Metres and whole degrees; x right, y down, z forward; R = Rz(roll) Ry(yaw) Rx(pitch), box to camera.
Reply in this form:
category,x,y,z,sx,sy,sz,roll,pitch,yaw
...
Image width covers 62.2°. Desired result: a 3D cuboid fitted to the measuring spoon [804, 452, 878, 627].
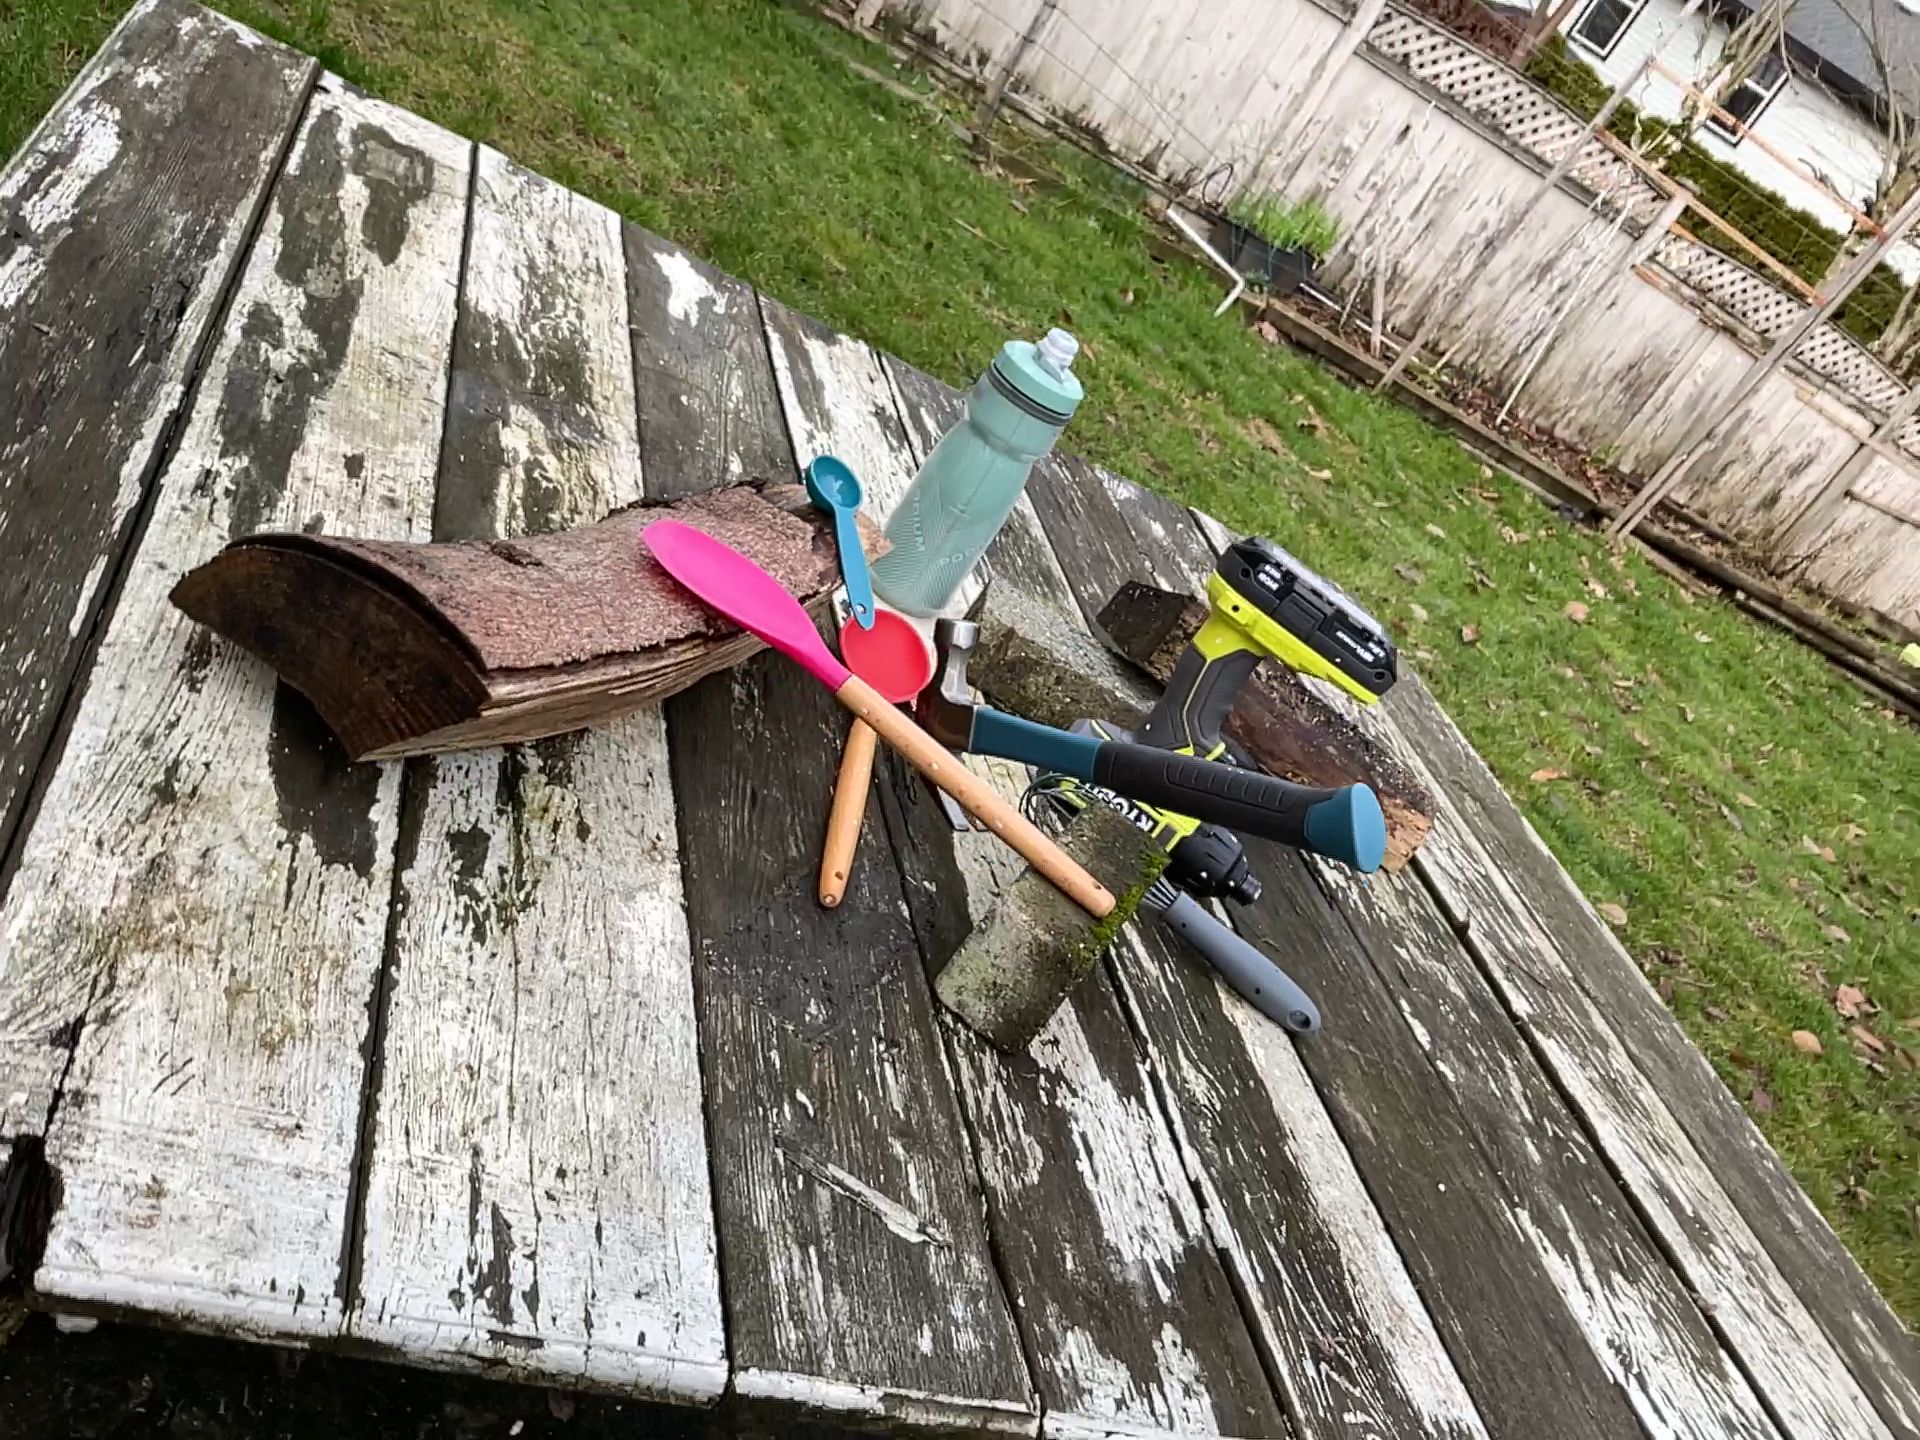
category,x,y,z,sx,sy,sz,roll,pitch,yaw
measuring spoon,-0.075,-0.111,1.007,0.042,0.021,0.129,10,57,-43

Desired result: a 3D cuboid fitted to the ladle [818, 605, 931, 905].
category,x,y,z,sx,sy,sz,roll,pitch,yaw
ladle,-0.060,0.015,0.988,0.069,0.031,0.316,31,28,-14

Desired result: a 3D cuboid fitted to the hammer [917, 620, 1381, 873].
category,x,y,z,sx,sy,sz,roll,pitch,yaw
hammer,0.094,0.027,0.925,0.033,0.128,0.331,3,9,-45

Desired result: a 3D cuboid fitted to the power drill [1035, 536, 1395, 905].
category,x,y,z,sx,sy,sz,roll,pitch,yaw
power drill,0.182,0.005,1.071,0.171,0.223,0.080,38,18,2

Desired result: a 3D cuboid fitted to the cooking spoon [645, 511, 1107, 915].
category,x,y,z,sx,sy,sz,roll,pitch,yaw
cooking spoon,-0.045,-0.005,0.853,0.319,0.017,0.069,41,25,2

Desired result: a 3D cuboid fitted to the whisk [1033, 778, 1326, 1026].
category,x,y,z,sx,sy,sz,roll,pitch,yaw
whisk,0.140,0.117,1.021,0.239,0.055,0.055,39,33,0
